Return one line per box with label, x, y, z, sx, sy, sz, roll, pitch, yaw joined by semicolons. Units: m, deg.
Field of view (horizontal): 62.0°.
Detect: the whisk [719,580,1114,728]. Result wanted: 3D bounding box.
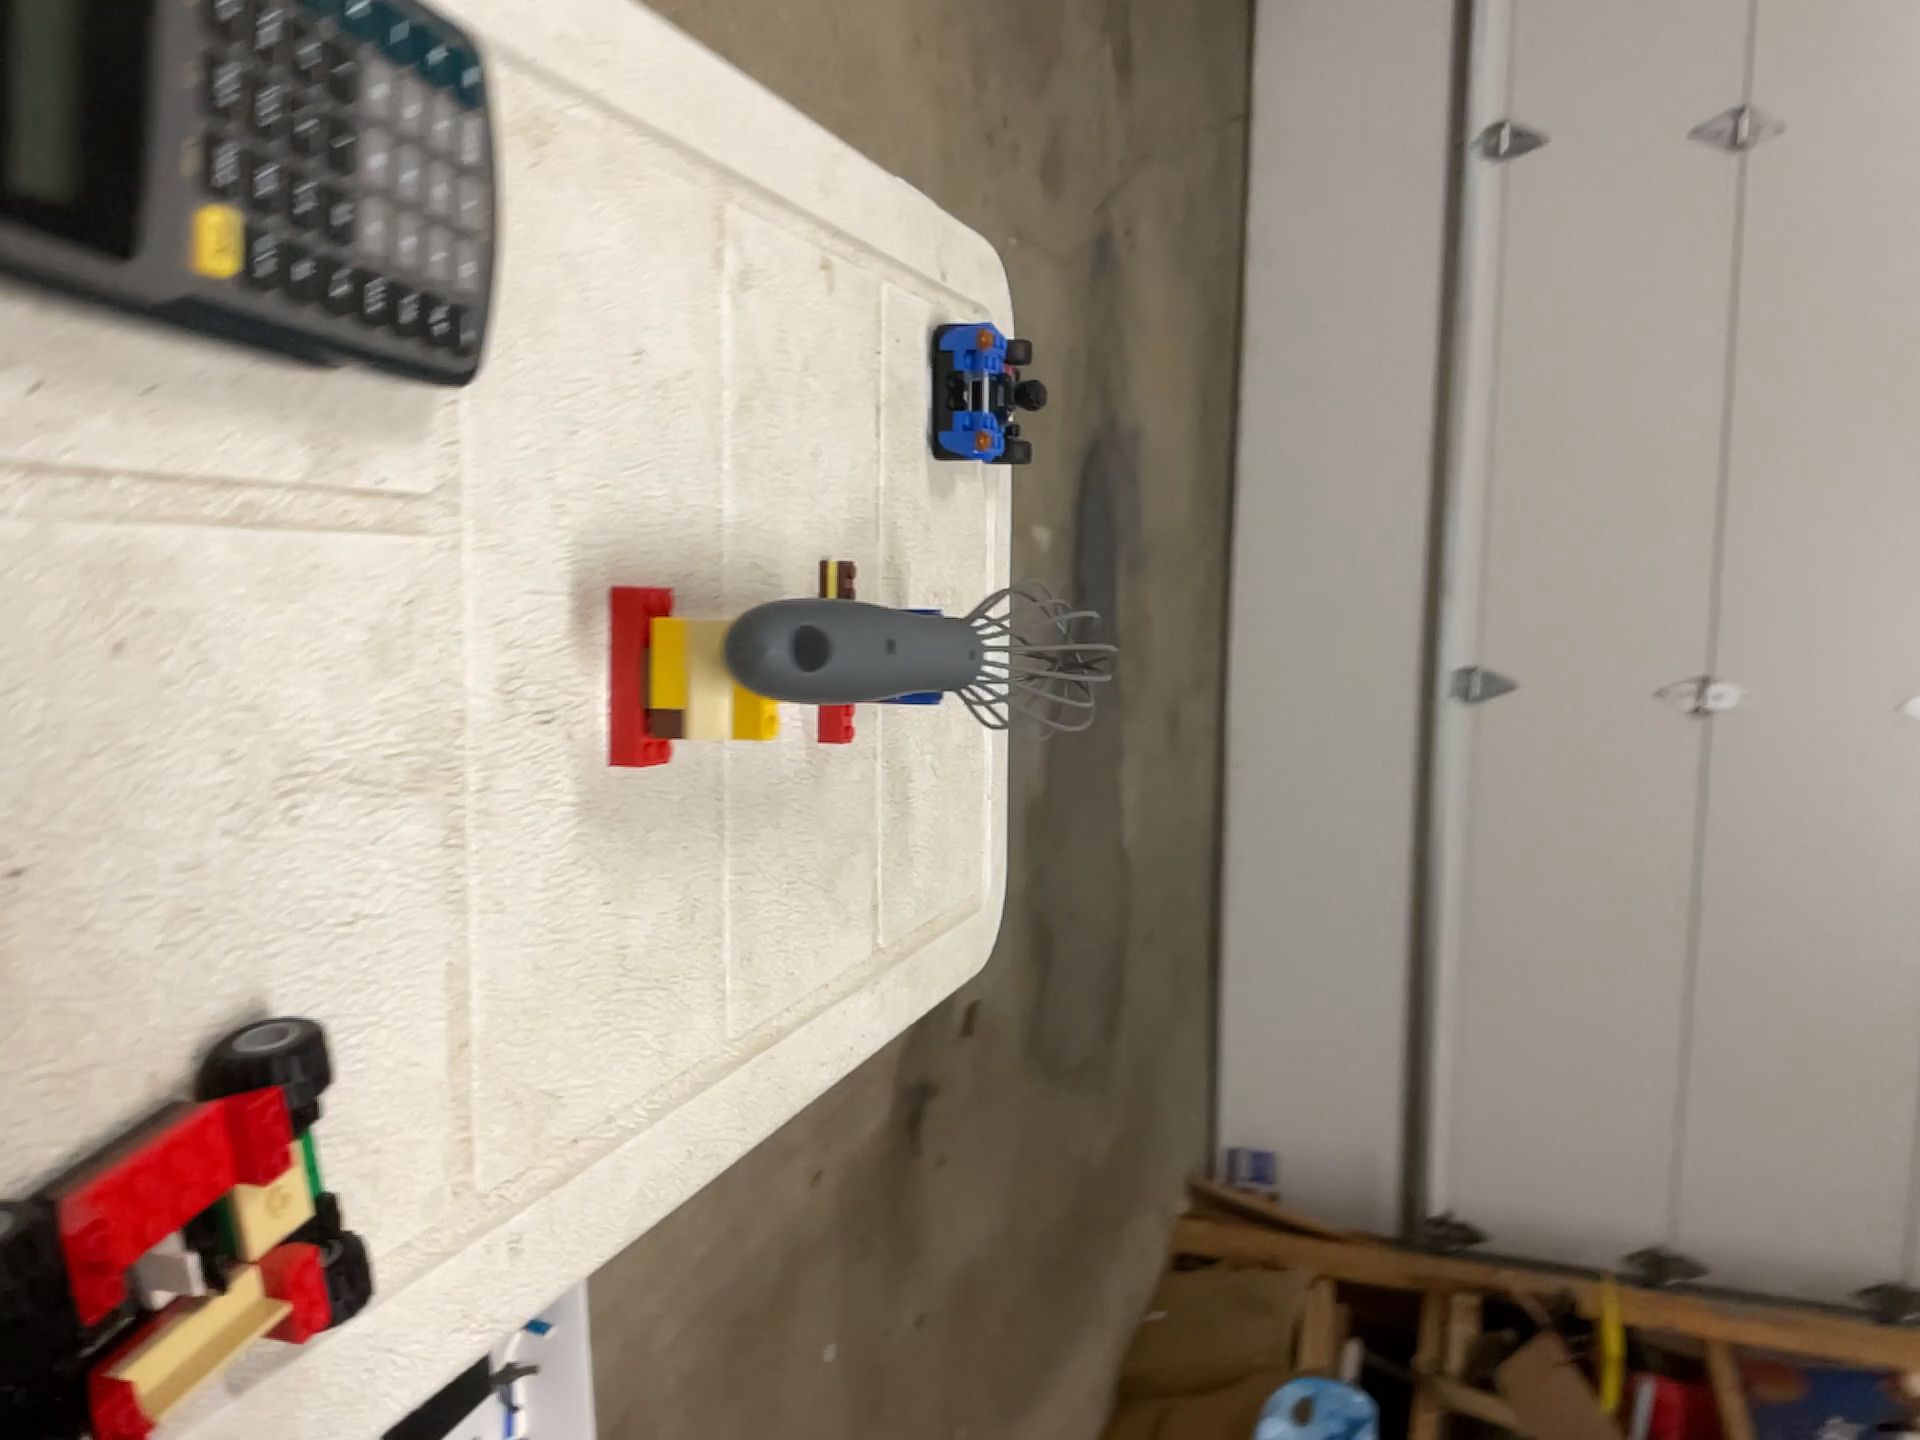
whisk;-0.006;-0.022;0.486;0.239;0.055;0.055;-2;93;-67
